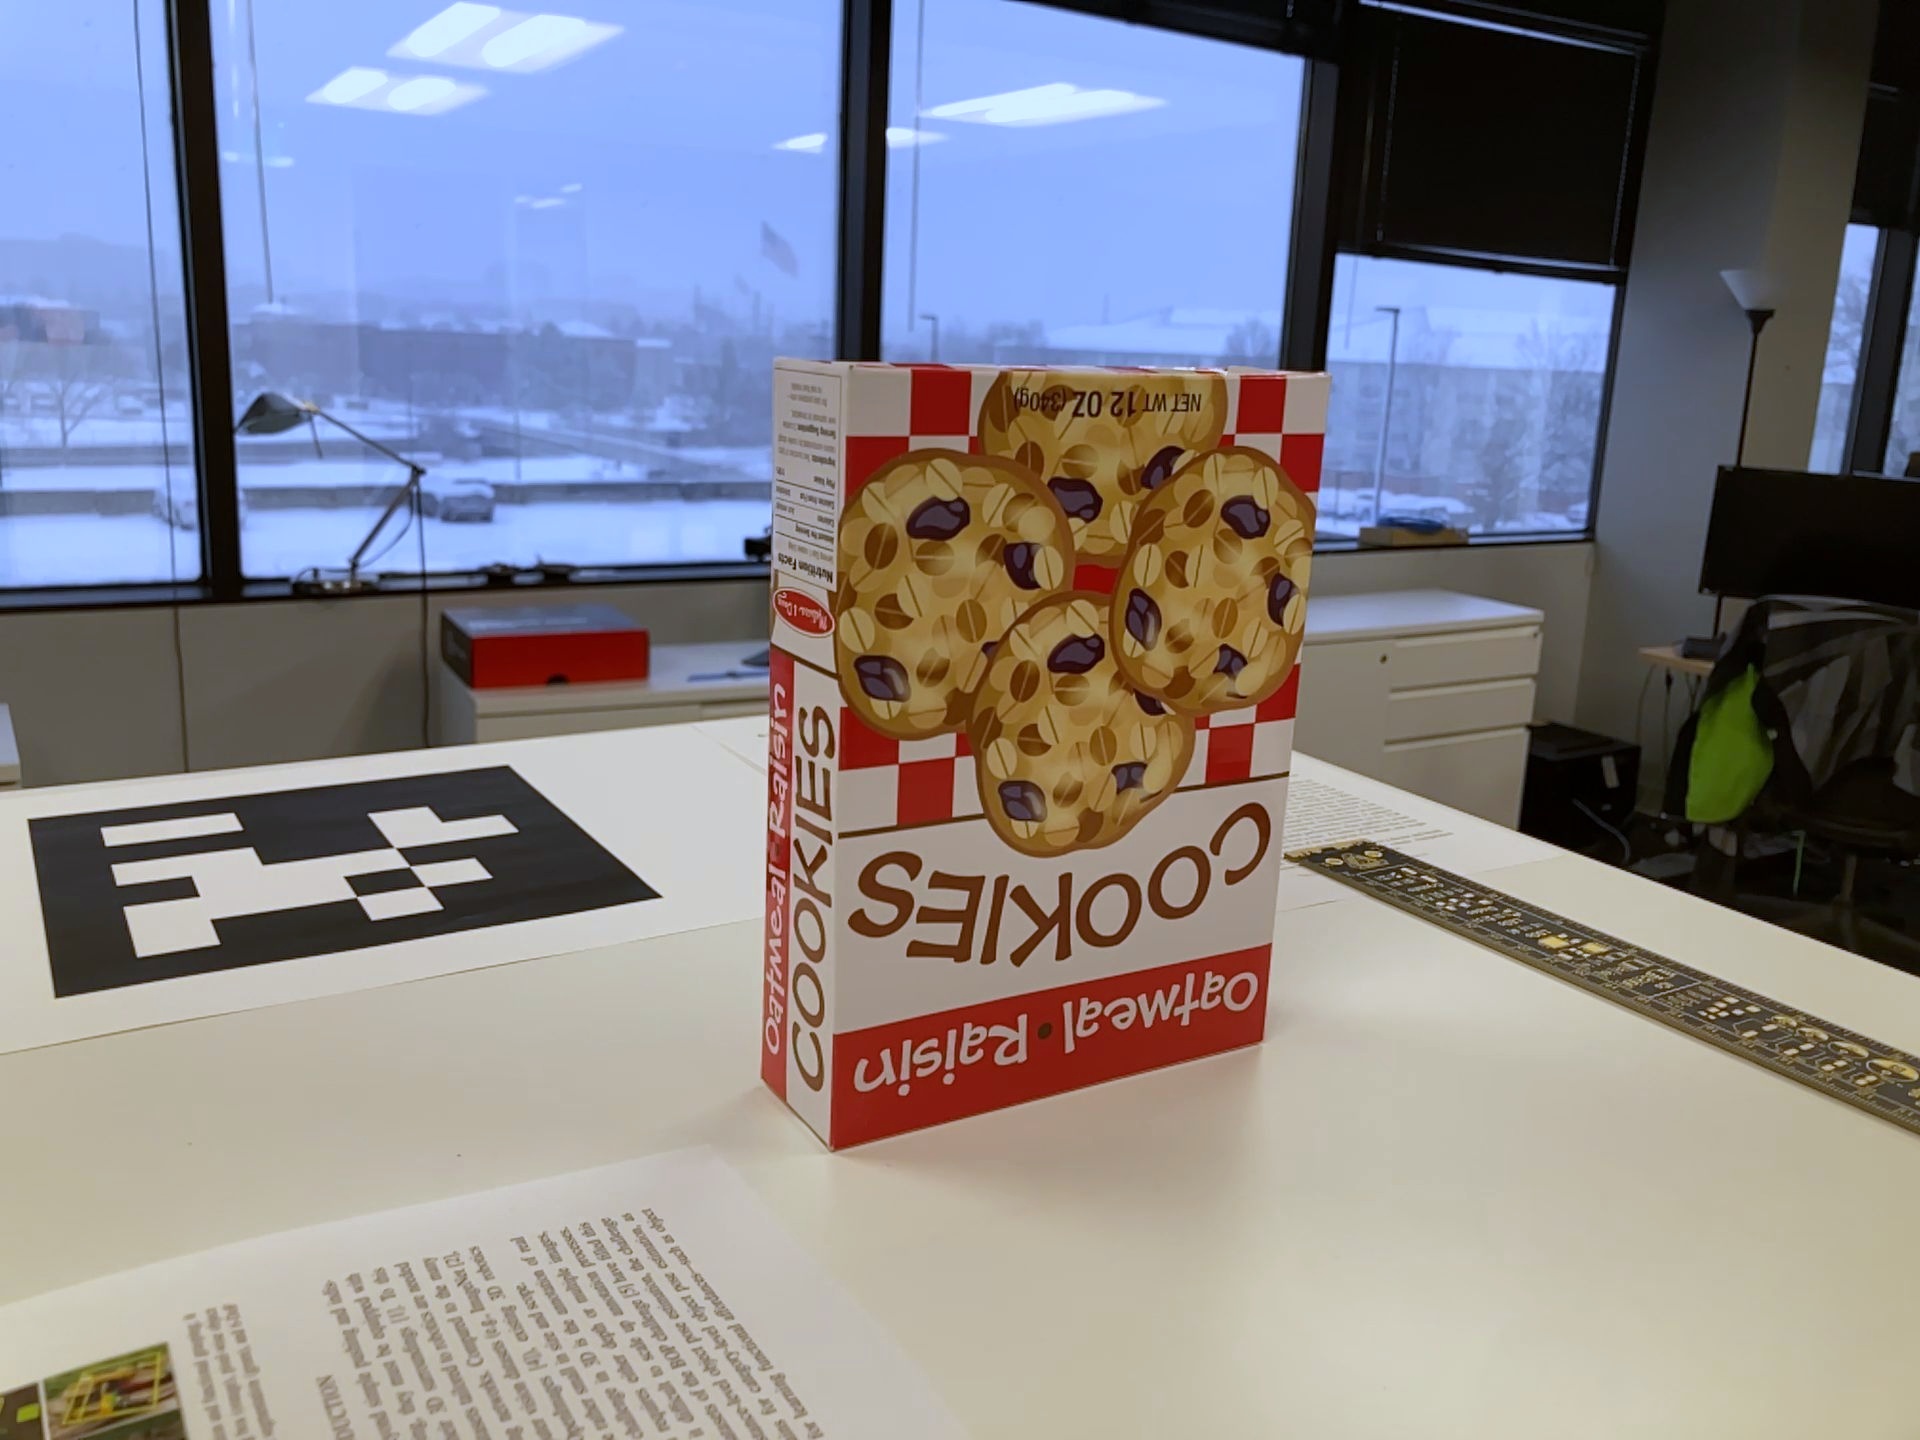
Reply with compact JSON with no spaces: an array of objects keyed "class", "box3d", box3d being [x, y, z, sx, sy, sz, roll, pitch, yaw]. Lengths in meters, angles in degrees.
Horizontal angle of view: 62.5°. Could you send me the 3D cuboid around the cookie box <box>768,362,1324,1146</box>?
[{"class":"cookie box","box3d":[0.019,0.004,0.369,0.123,0.167,0.040,-6,16,-29]}]
